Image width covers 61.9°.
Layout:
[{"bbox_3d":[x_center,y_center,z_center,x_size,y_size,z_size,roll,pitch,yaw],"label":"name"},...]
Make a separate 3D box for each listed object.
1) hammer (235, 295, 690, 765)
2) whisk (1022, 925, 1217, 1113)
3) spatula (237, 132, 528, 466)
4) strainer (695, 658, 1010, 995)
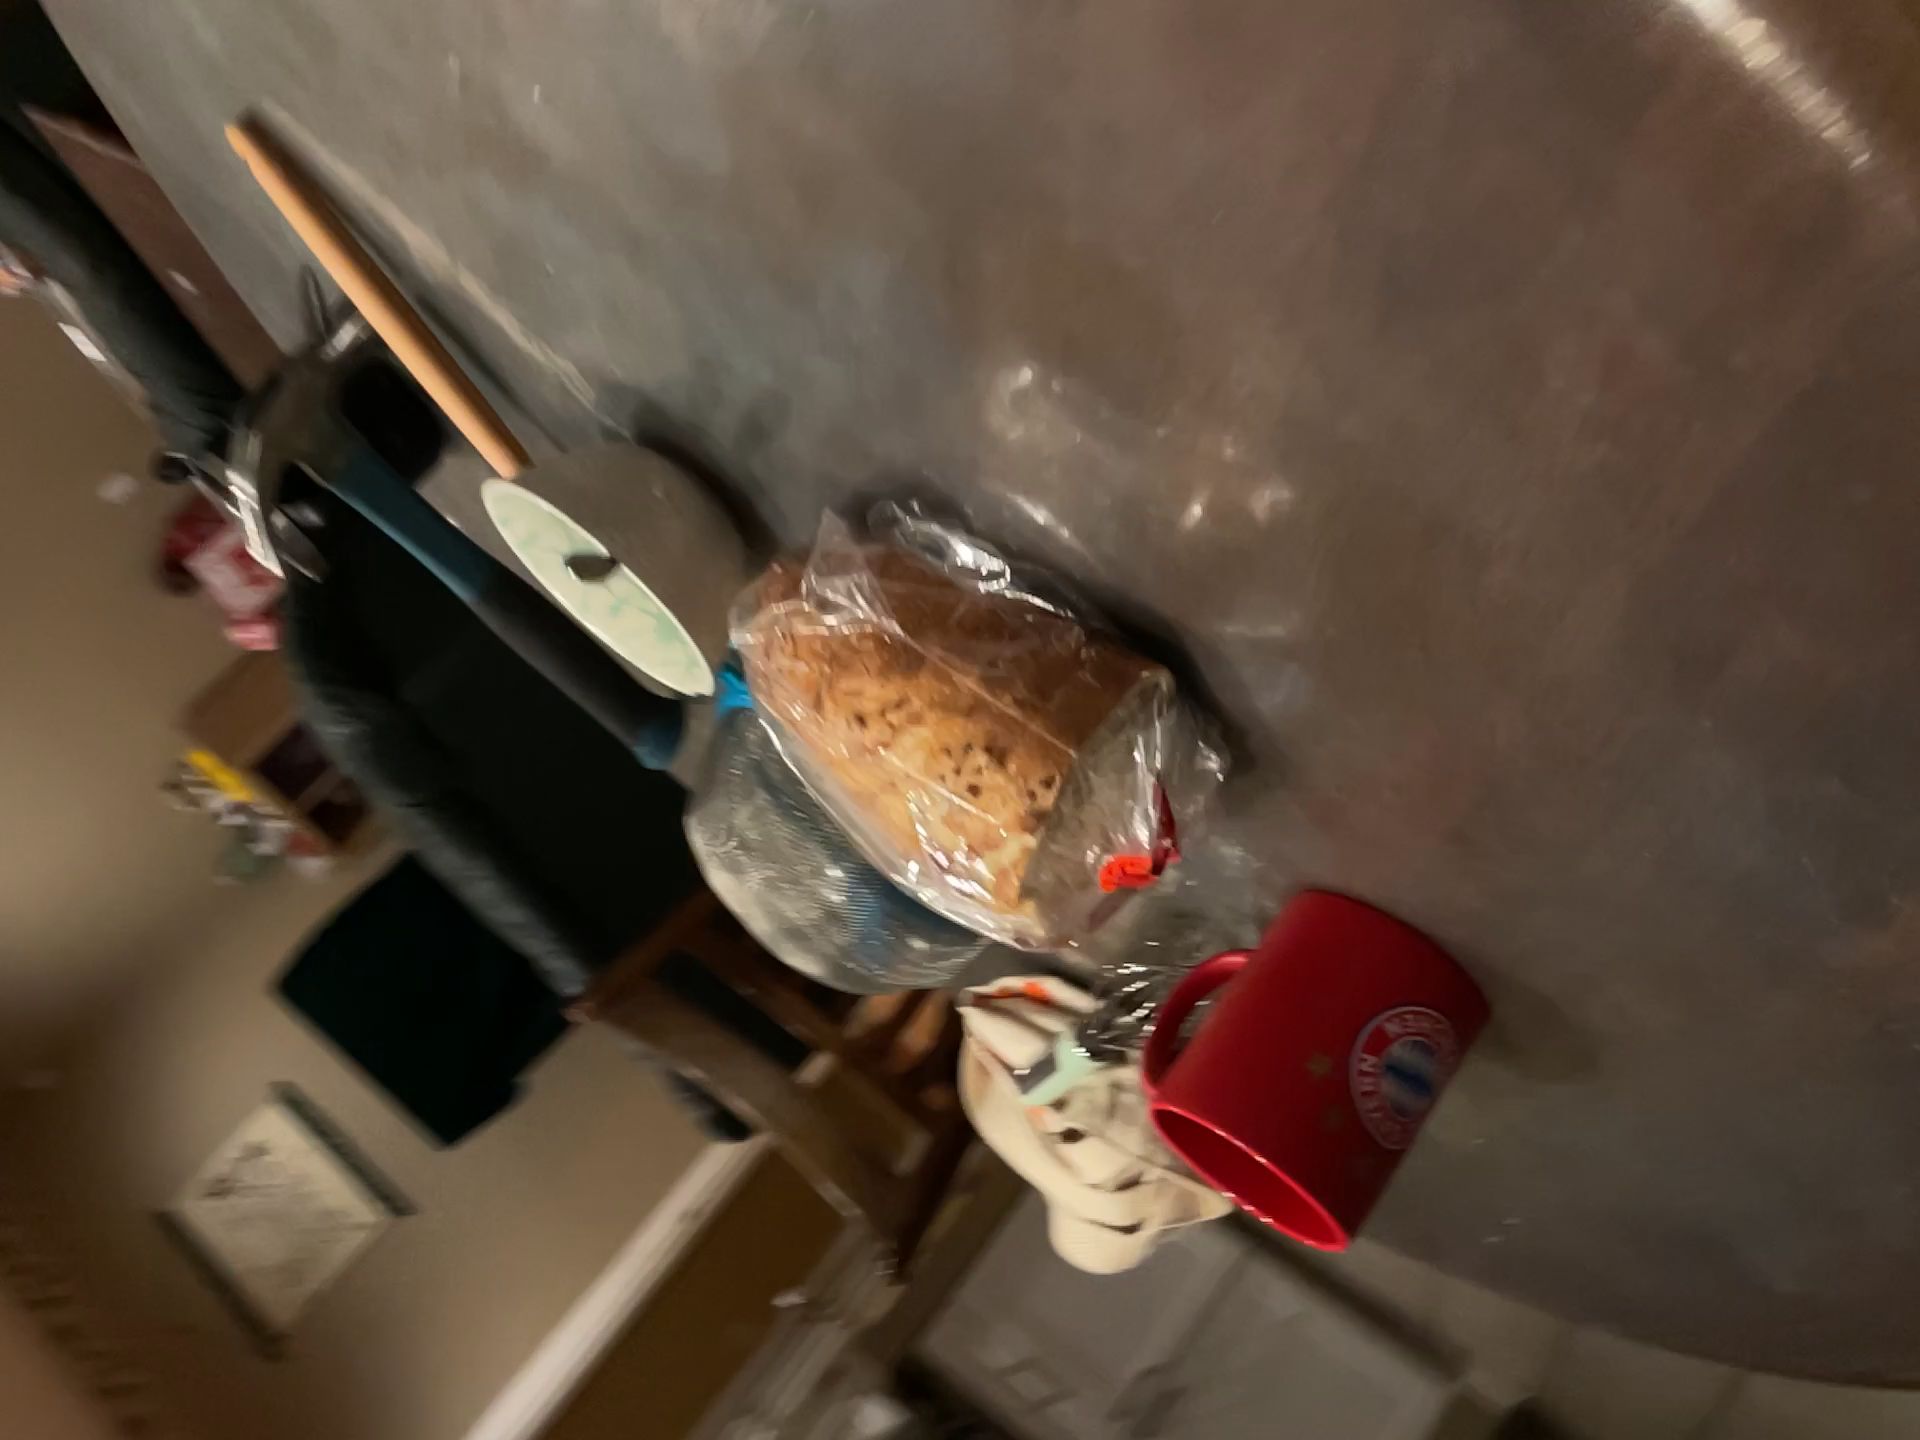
[{"bbox_3d":[-0.250,-0.072,0.869,0.033,0.128,0.330,28,166,40],"label":"hammer"},{"bbox_3d":[0.068,0.155,0.776,0.059,0.058,0.246,11,153,-8],"label":"whisk"},{"bbox_3d":[-0.209,-0.138,0.745,0.317,0.044,0.082,53,159,-21],"label":"spatula"},{"bbox_3d":[-0.077,0.112,0.931,0.211,0.095,0.340,36,156,16],"label":"strainer"}]
